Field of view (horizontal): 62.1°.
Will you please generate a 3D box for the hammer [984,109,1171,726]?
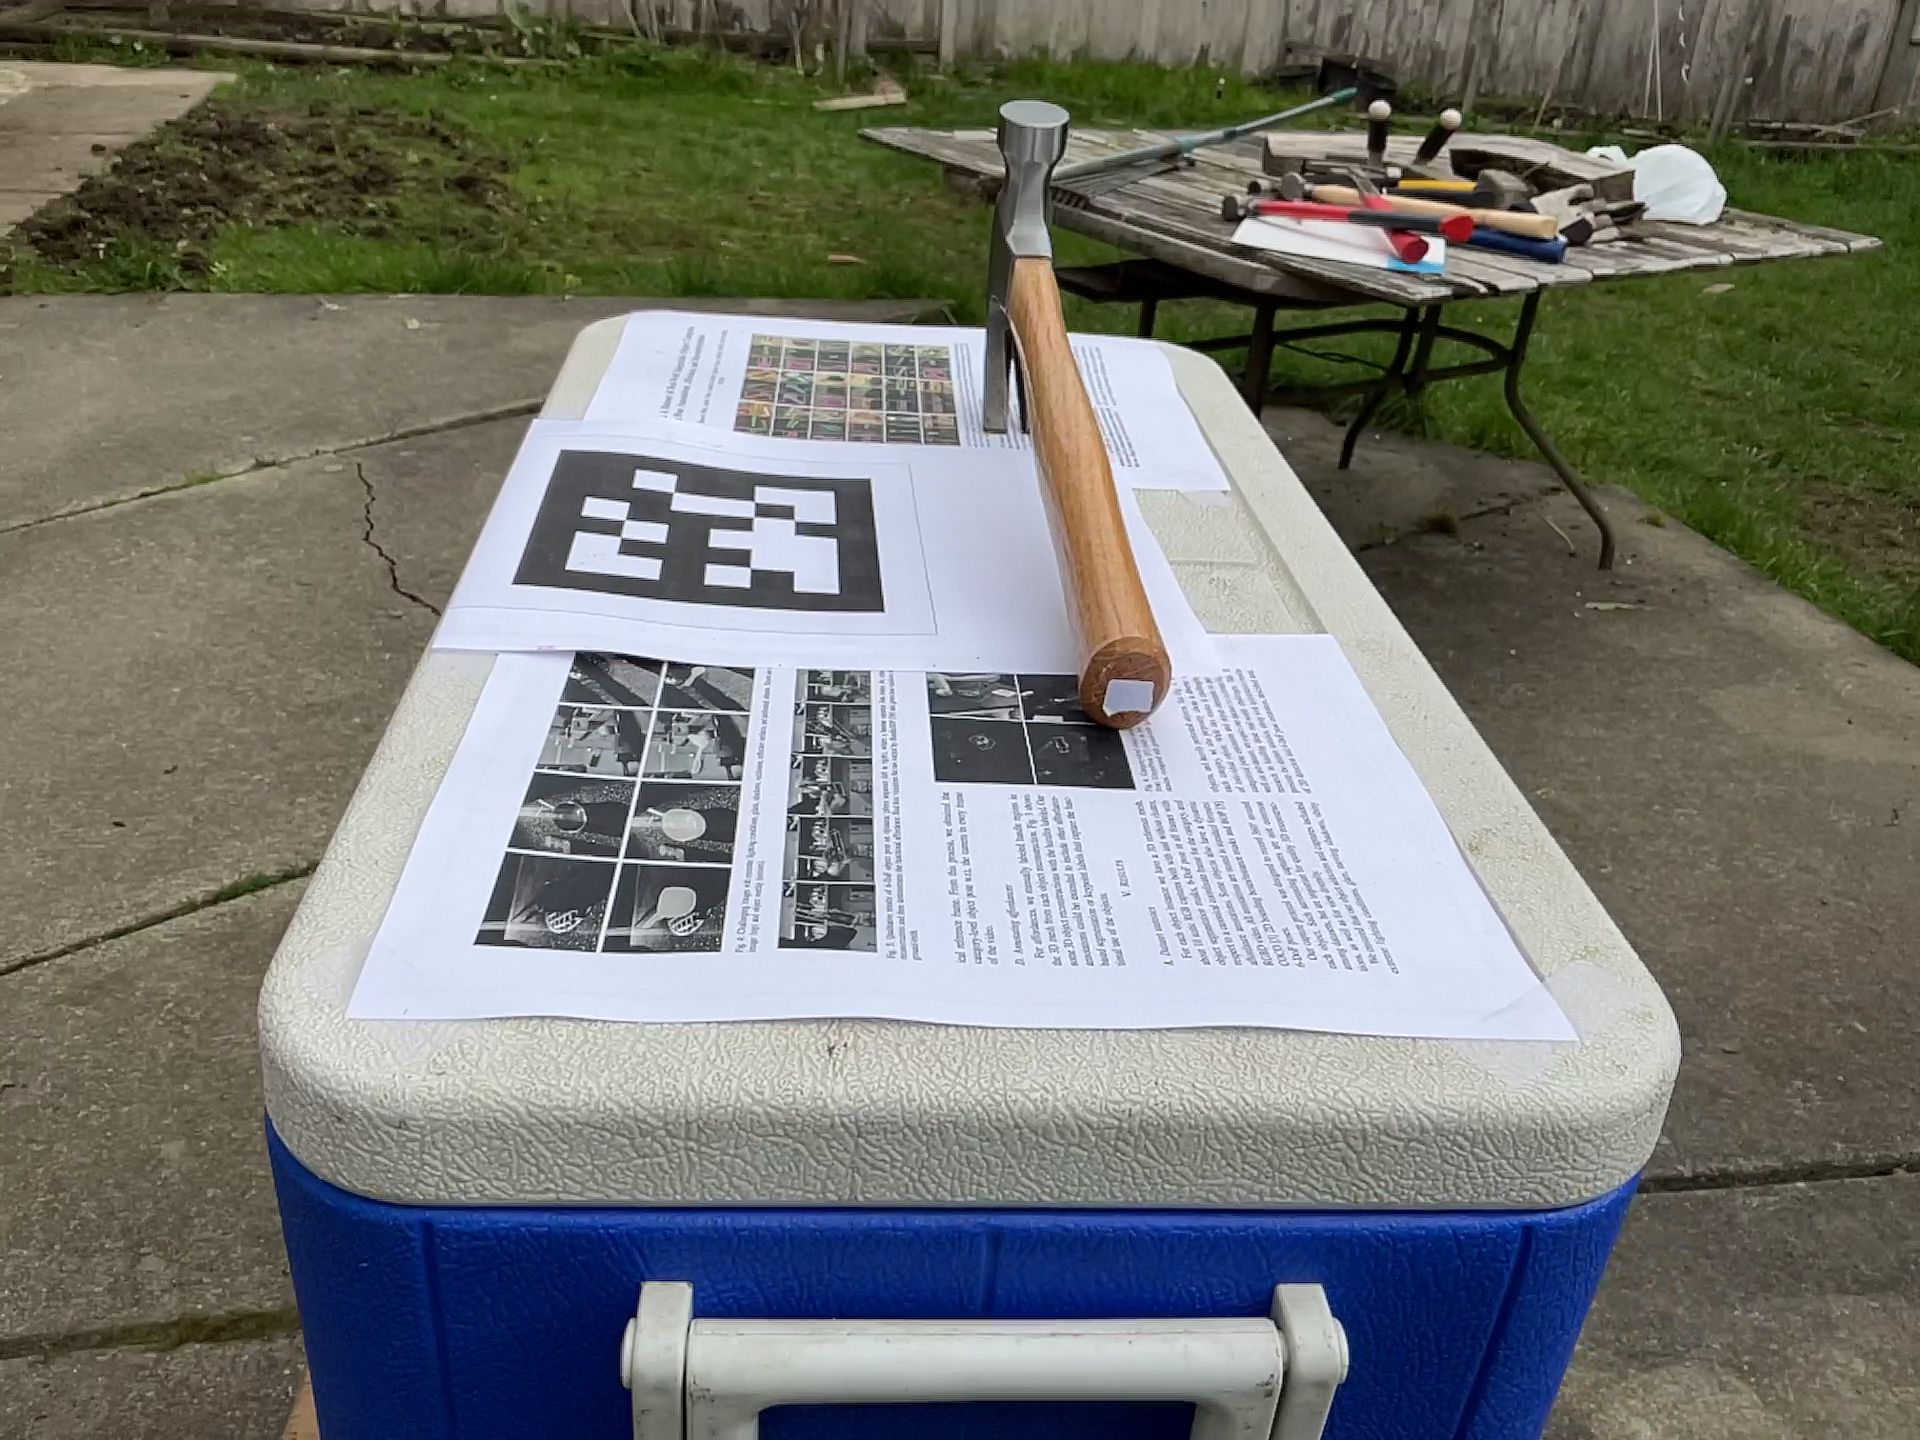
[{"bbox_3d":[0.038,-0.114,0.617,0.031,0.130,0.332,0,40,-6],"label":"hammer"}]
